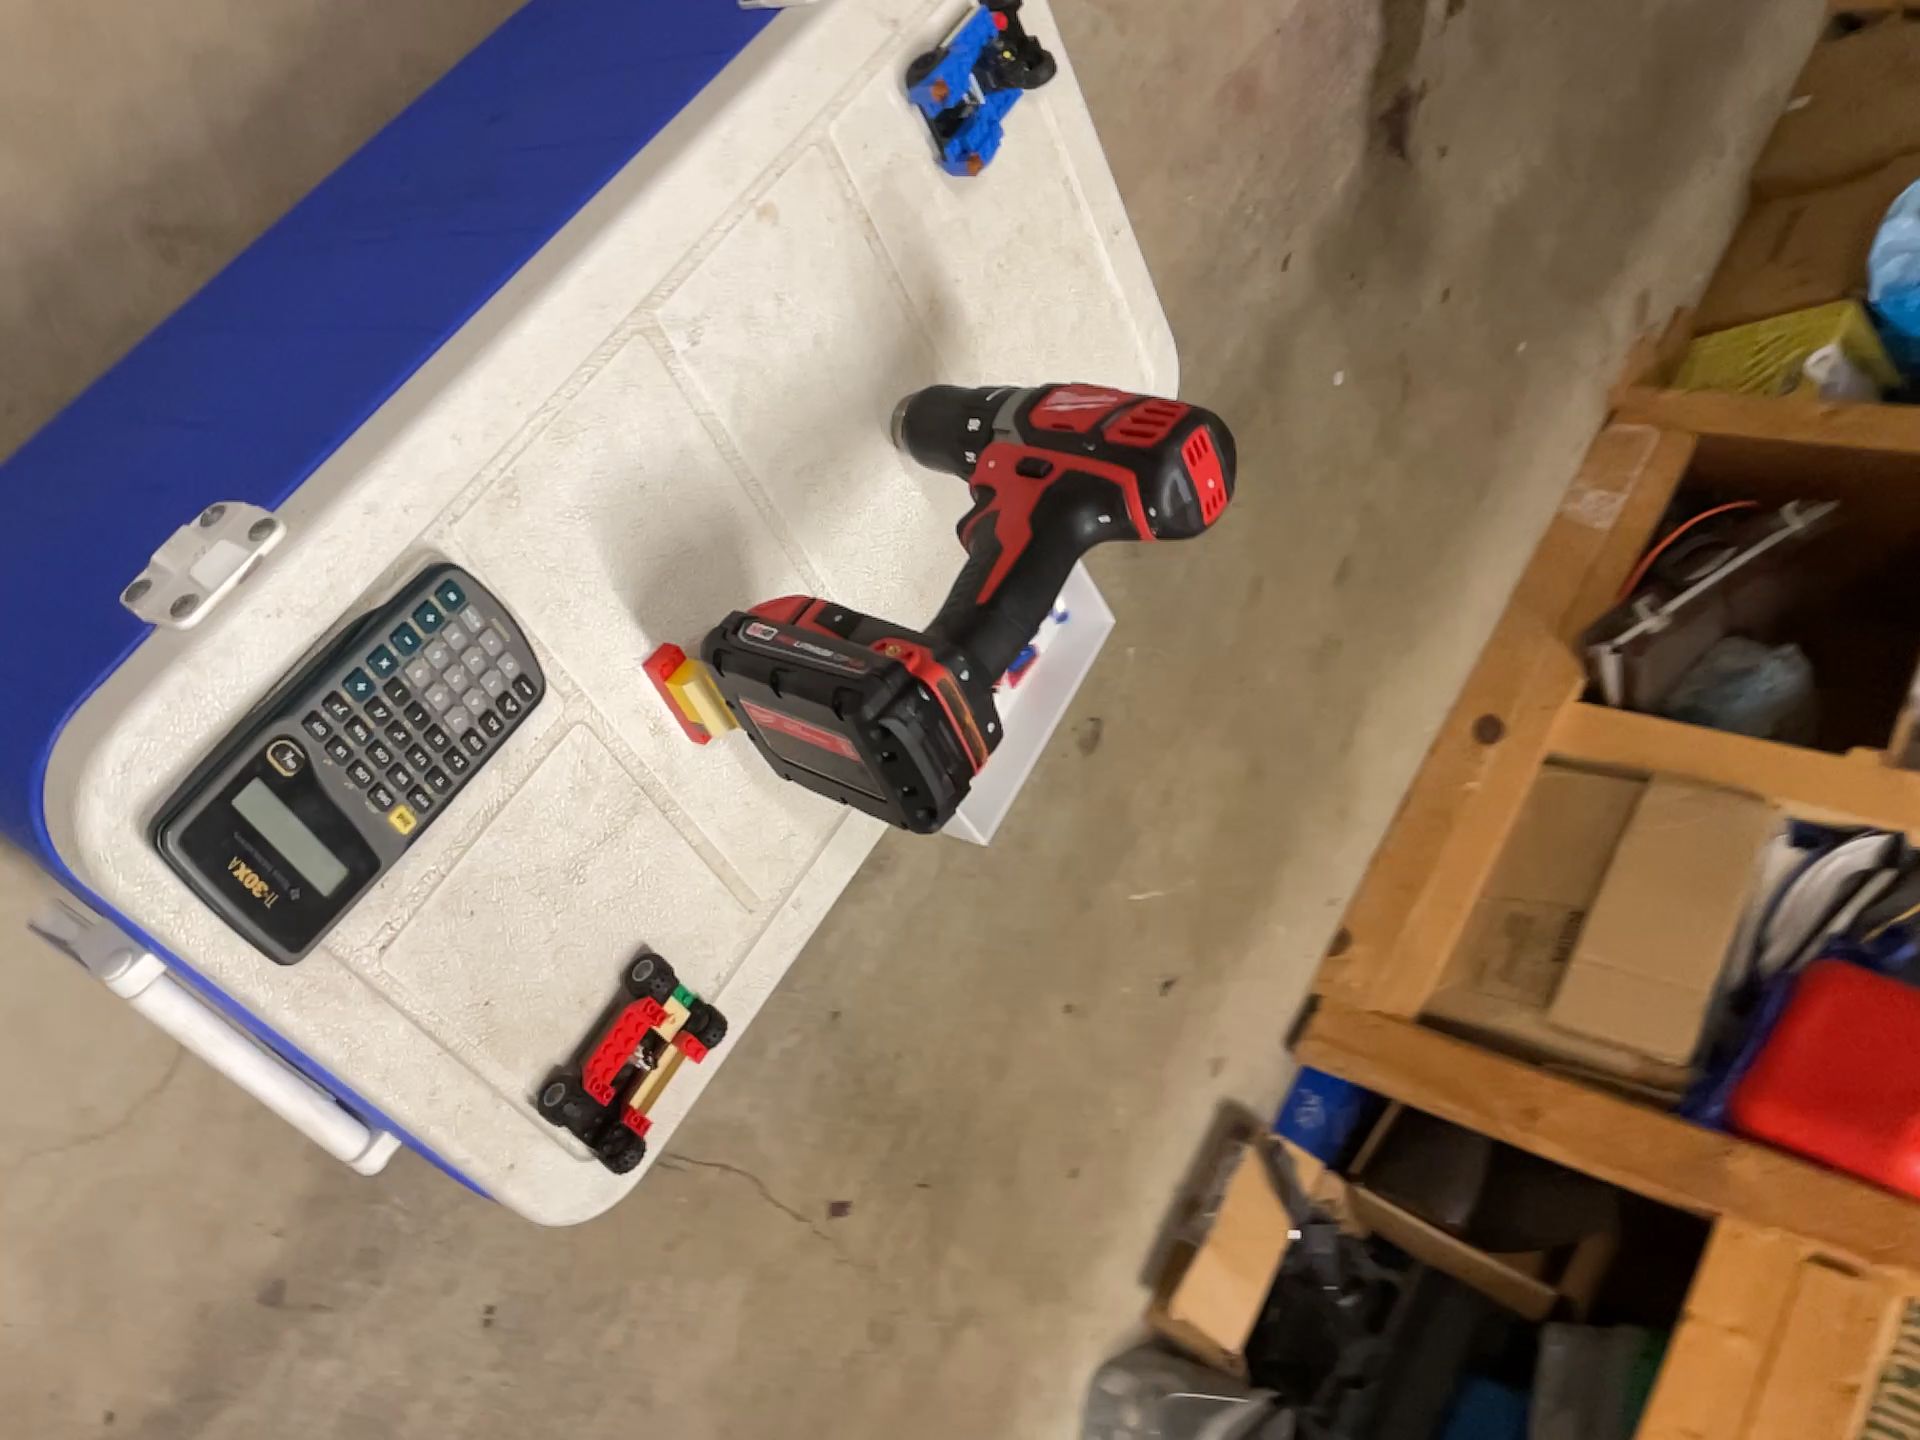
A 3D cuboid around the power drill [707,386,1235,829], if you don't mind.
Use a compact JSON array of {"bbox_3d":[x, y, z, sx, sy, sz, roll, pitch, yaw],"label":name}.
[{"bbox_3d":[-0.007,-0.073,0.719,0.227,0.188,0.080,-48,132,-23],"label":"power drill"}]
